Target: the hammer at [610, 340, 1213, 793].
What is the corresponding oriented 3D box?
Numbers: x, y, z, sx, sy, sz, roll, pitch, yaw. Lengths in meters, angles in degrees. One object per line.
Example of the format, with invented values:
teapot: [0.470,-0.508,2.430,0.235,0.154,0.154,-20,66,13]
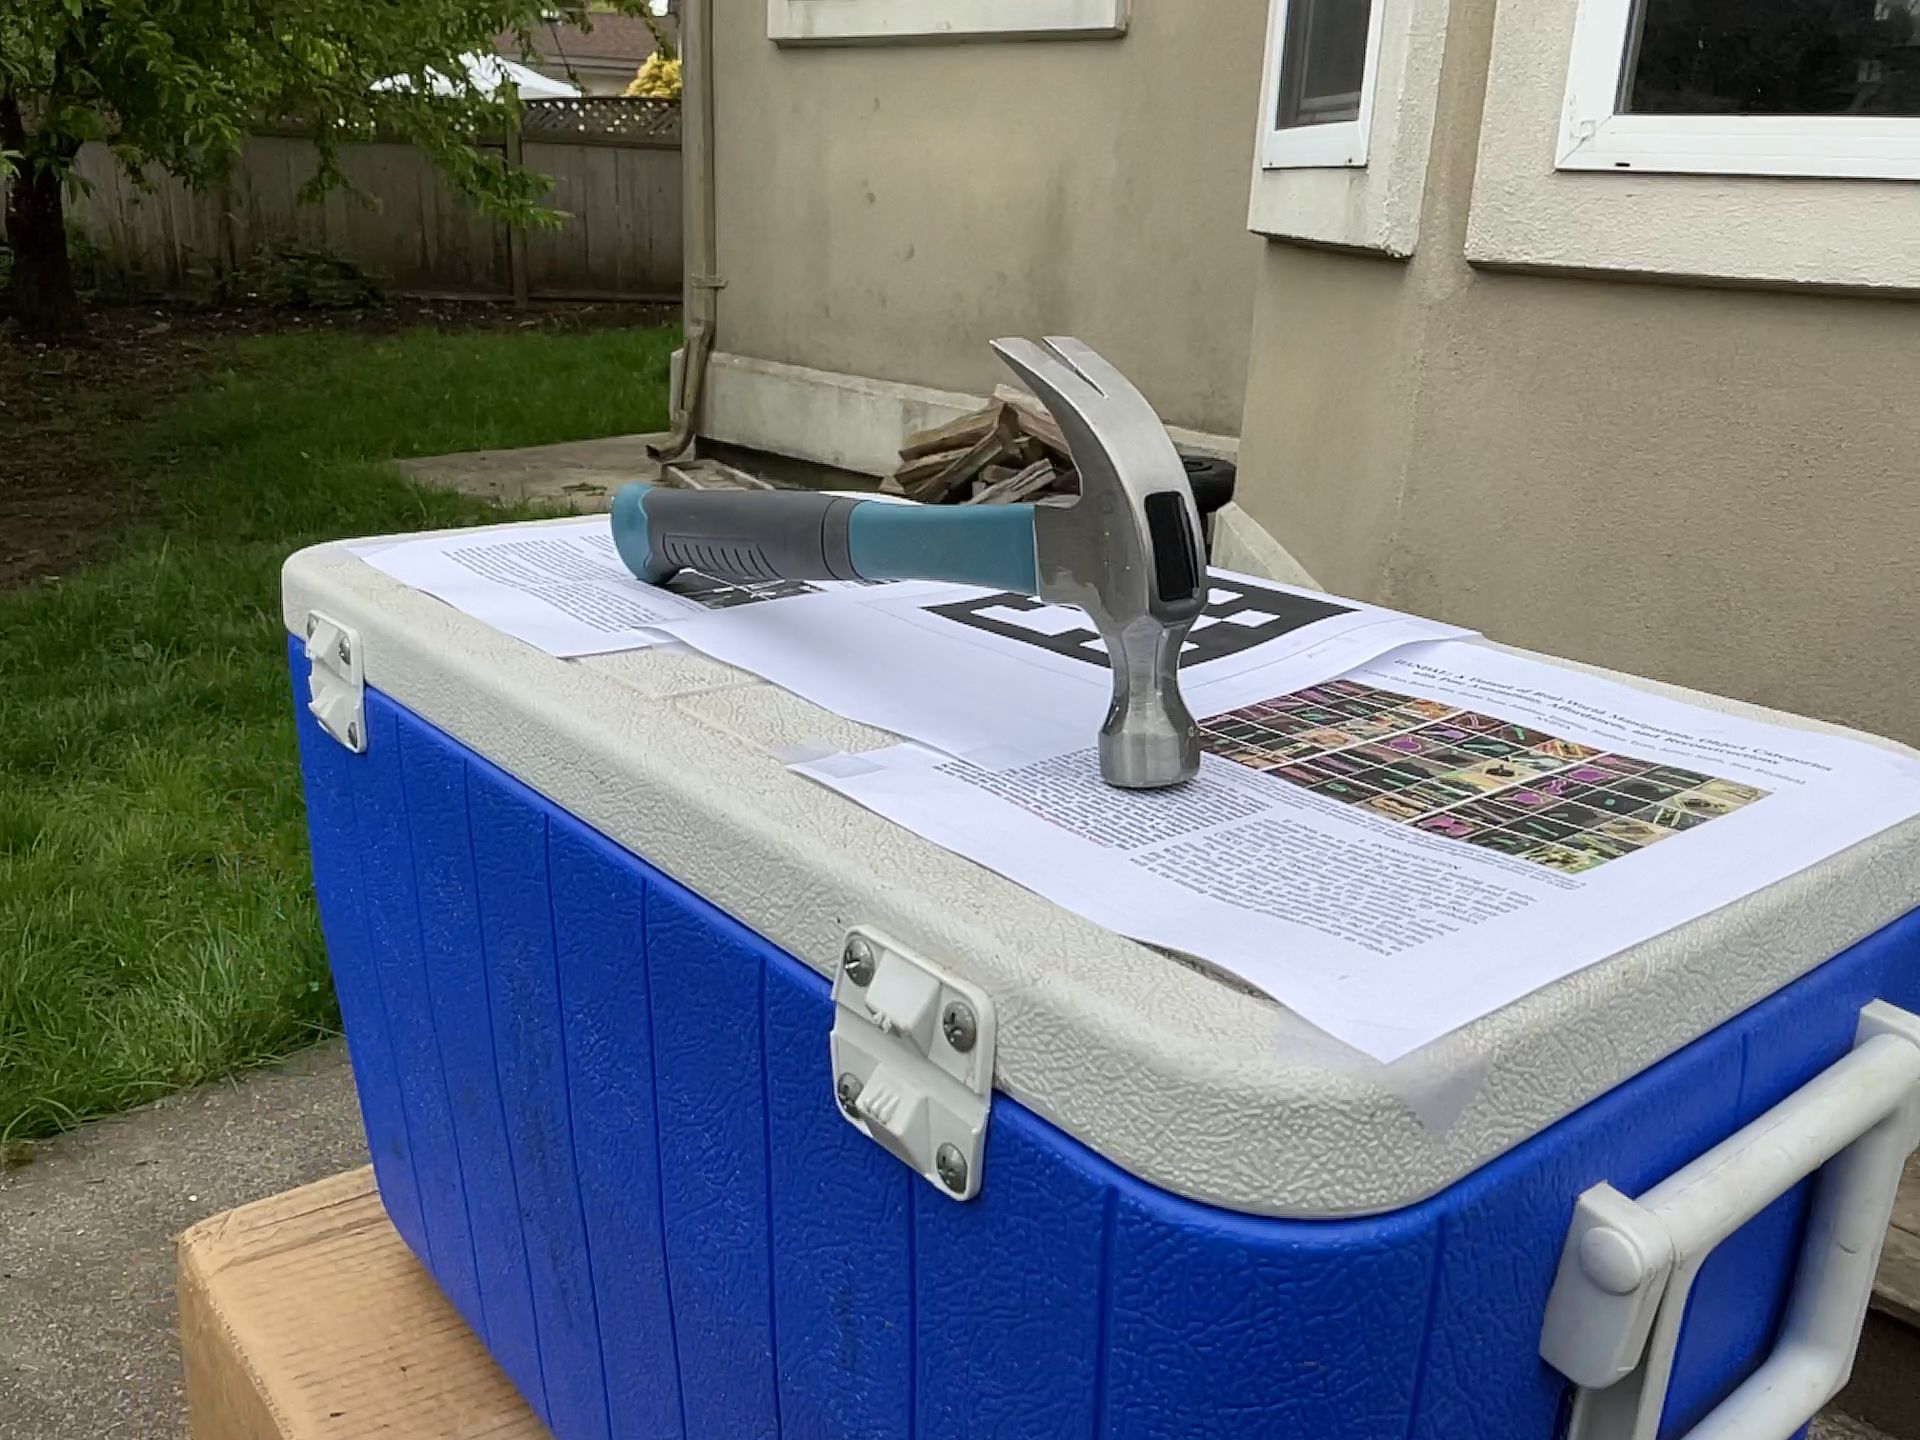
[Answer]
hammer: [-0.040,-0.062,0.564,0.033,0.128,0.331,-10,13,-37]
